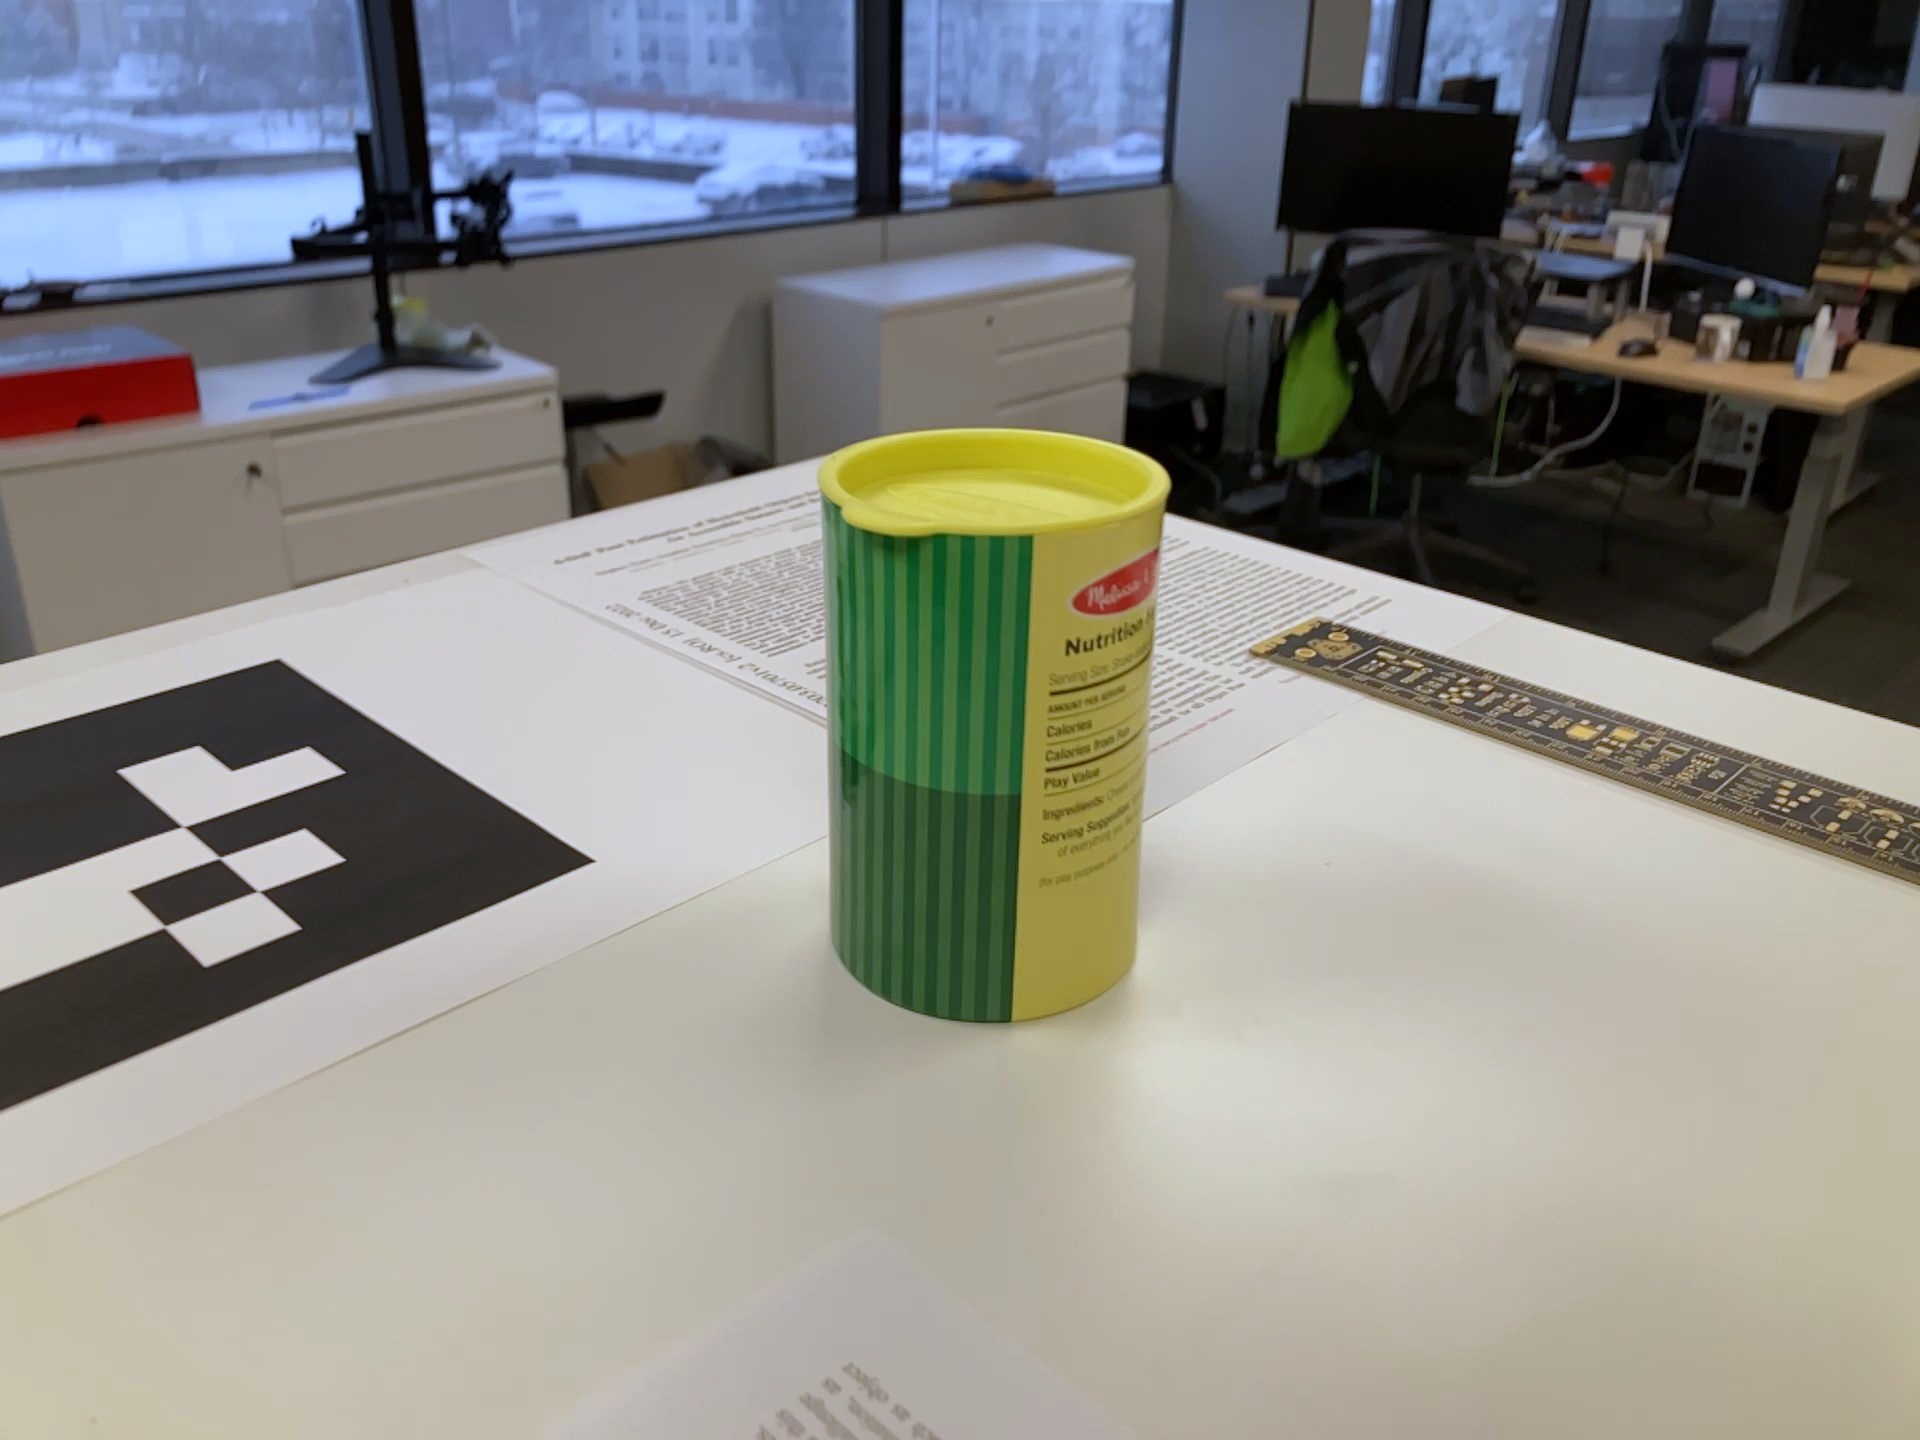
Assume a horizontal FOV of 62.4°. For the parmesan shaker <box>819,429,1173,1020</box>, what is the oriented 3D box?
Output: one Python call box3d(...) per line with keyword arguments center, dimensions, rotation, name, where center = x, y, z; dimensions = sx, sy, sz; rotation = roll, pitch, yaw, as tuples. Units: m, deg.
box3d(center=(0.004, 0.000, 0.317), dimensions=(0.071, 0.103, 0.071), rotation=(1, 24, -1), name="parmesan shaker")
